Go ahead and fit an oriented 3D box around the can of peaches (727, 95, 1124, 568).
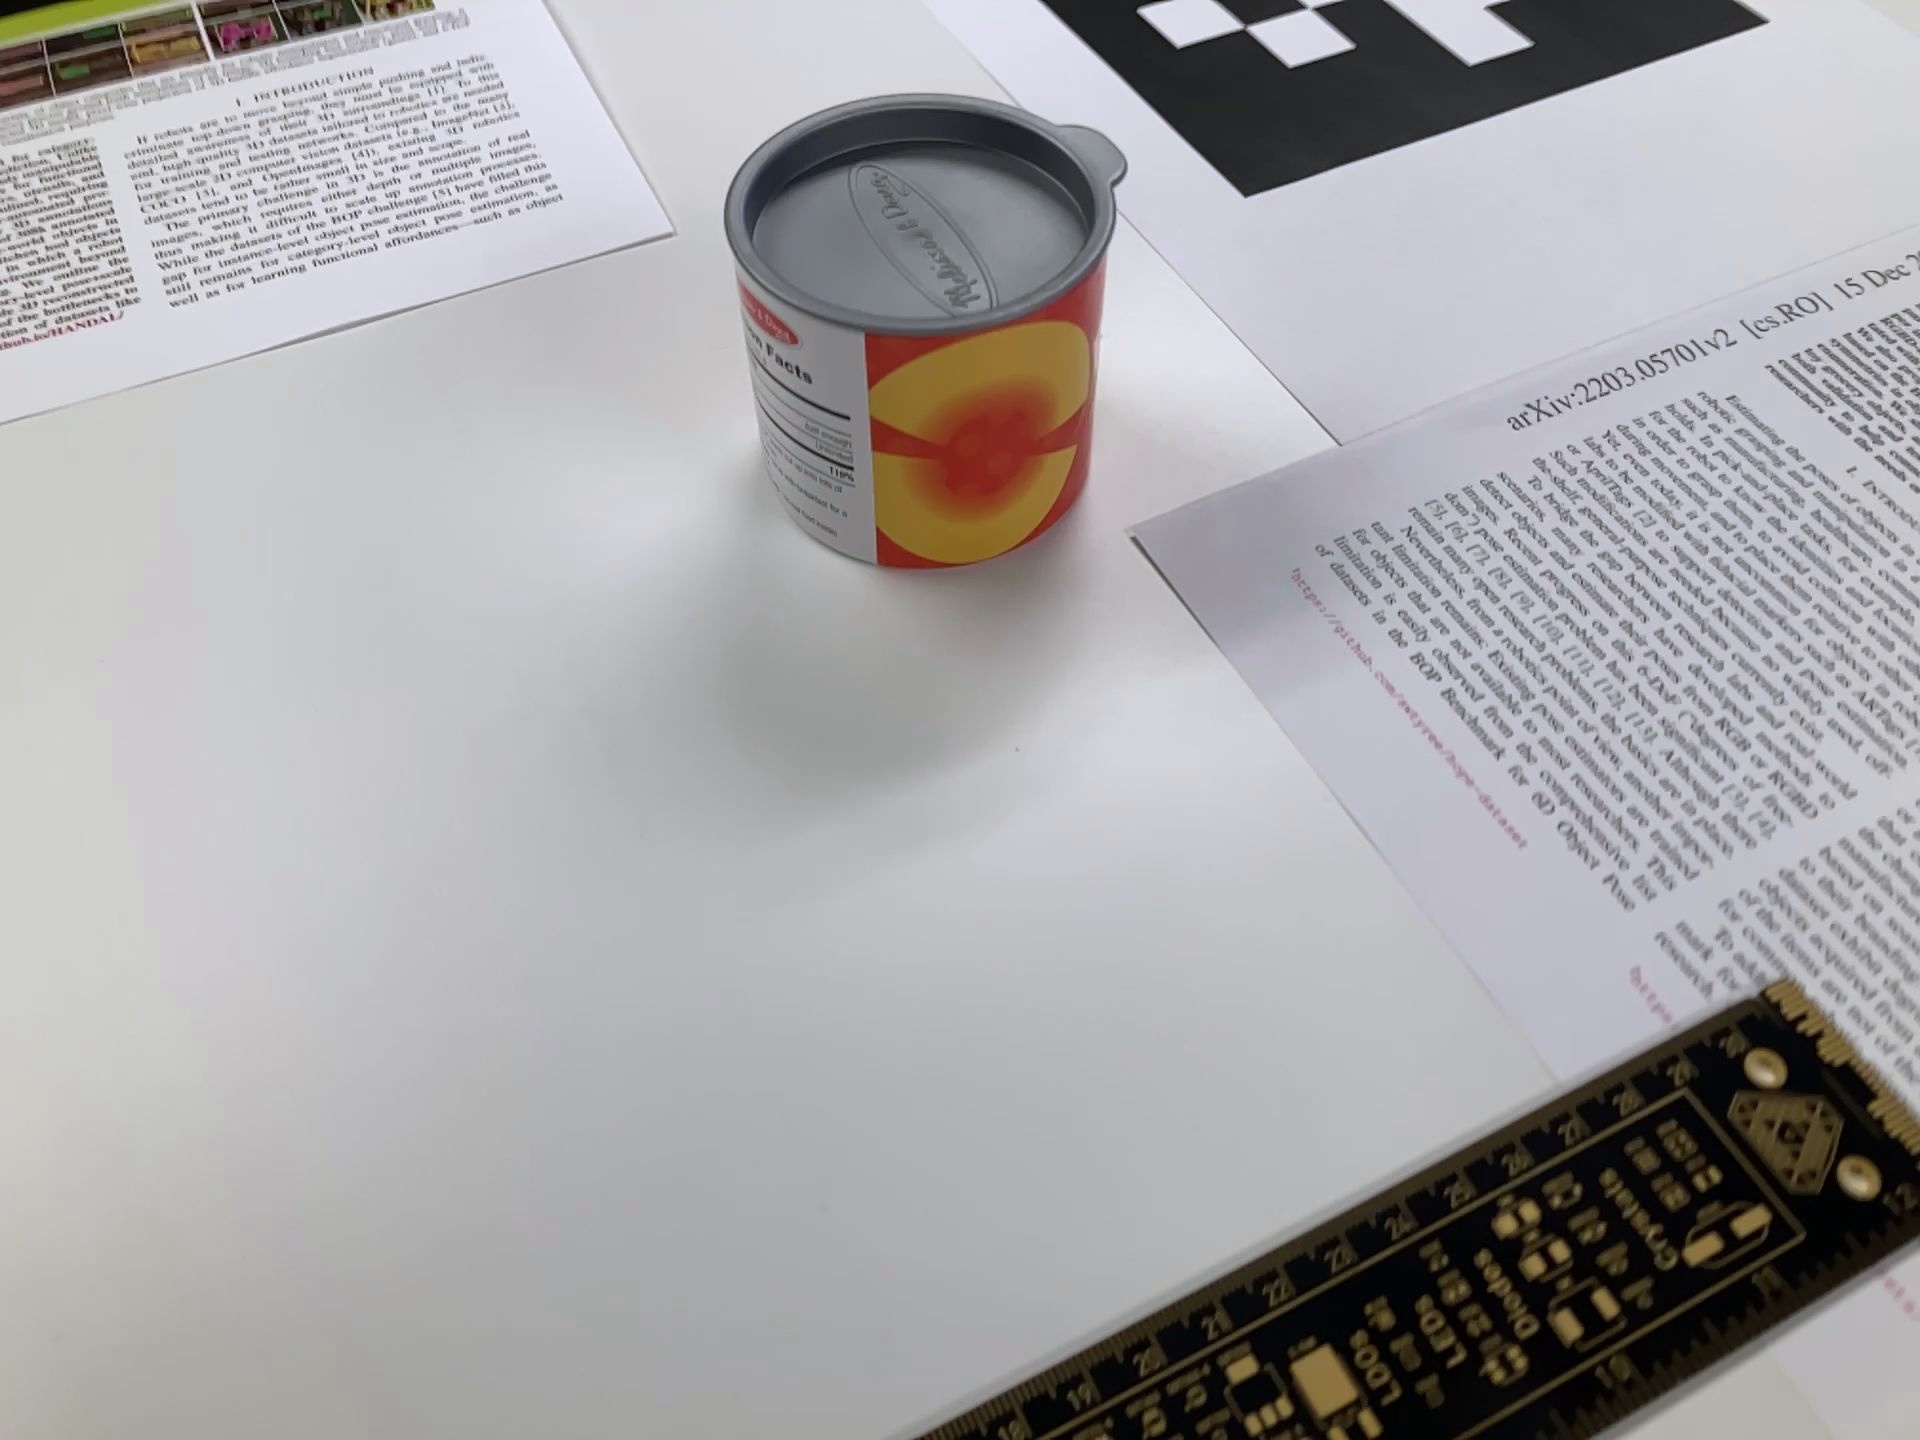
[{"bbox_3d":[-0.005,-0.072,0.294,0.071,0.058,0.071,0,53,0],"label":"can of peaches"}]
